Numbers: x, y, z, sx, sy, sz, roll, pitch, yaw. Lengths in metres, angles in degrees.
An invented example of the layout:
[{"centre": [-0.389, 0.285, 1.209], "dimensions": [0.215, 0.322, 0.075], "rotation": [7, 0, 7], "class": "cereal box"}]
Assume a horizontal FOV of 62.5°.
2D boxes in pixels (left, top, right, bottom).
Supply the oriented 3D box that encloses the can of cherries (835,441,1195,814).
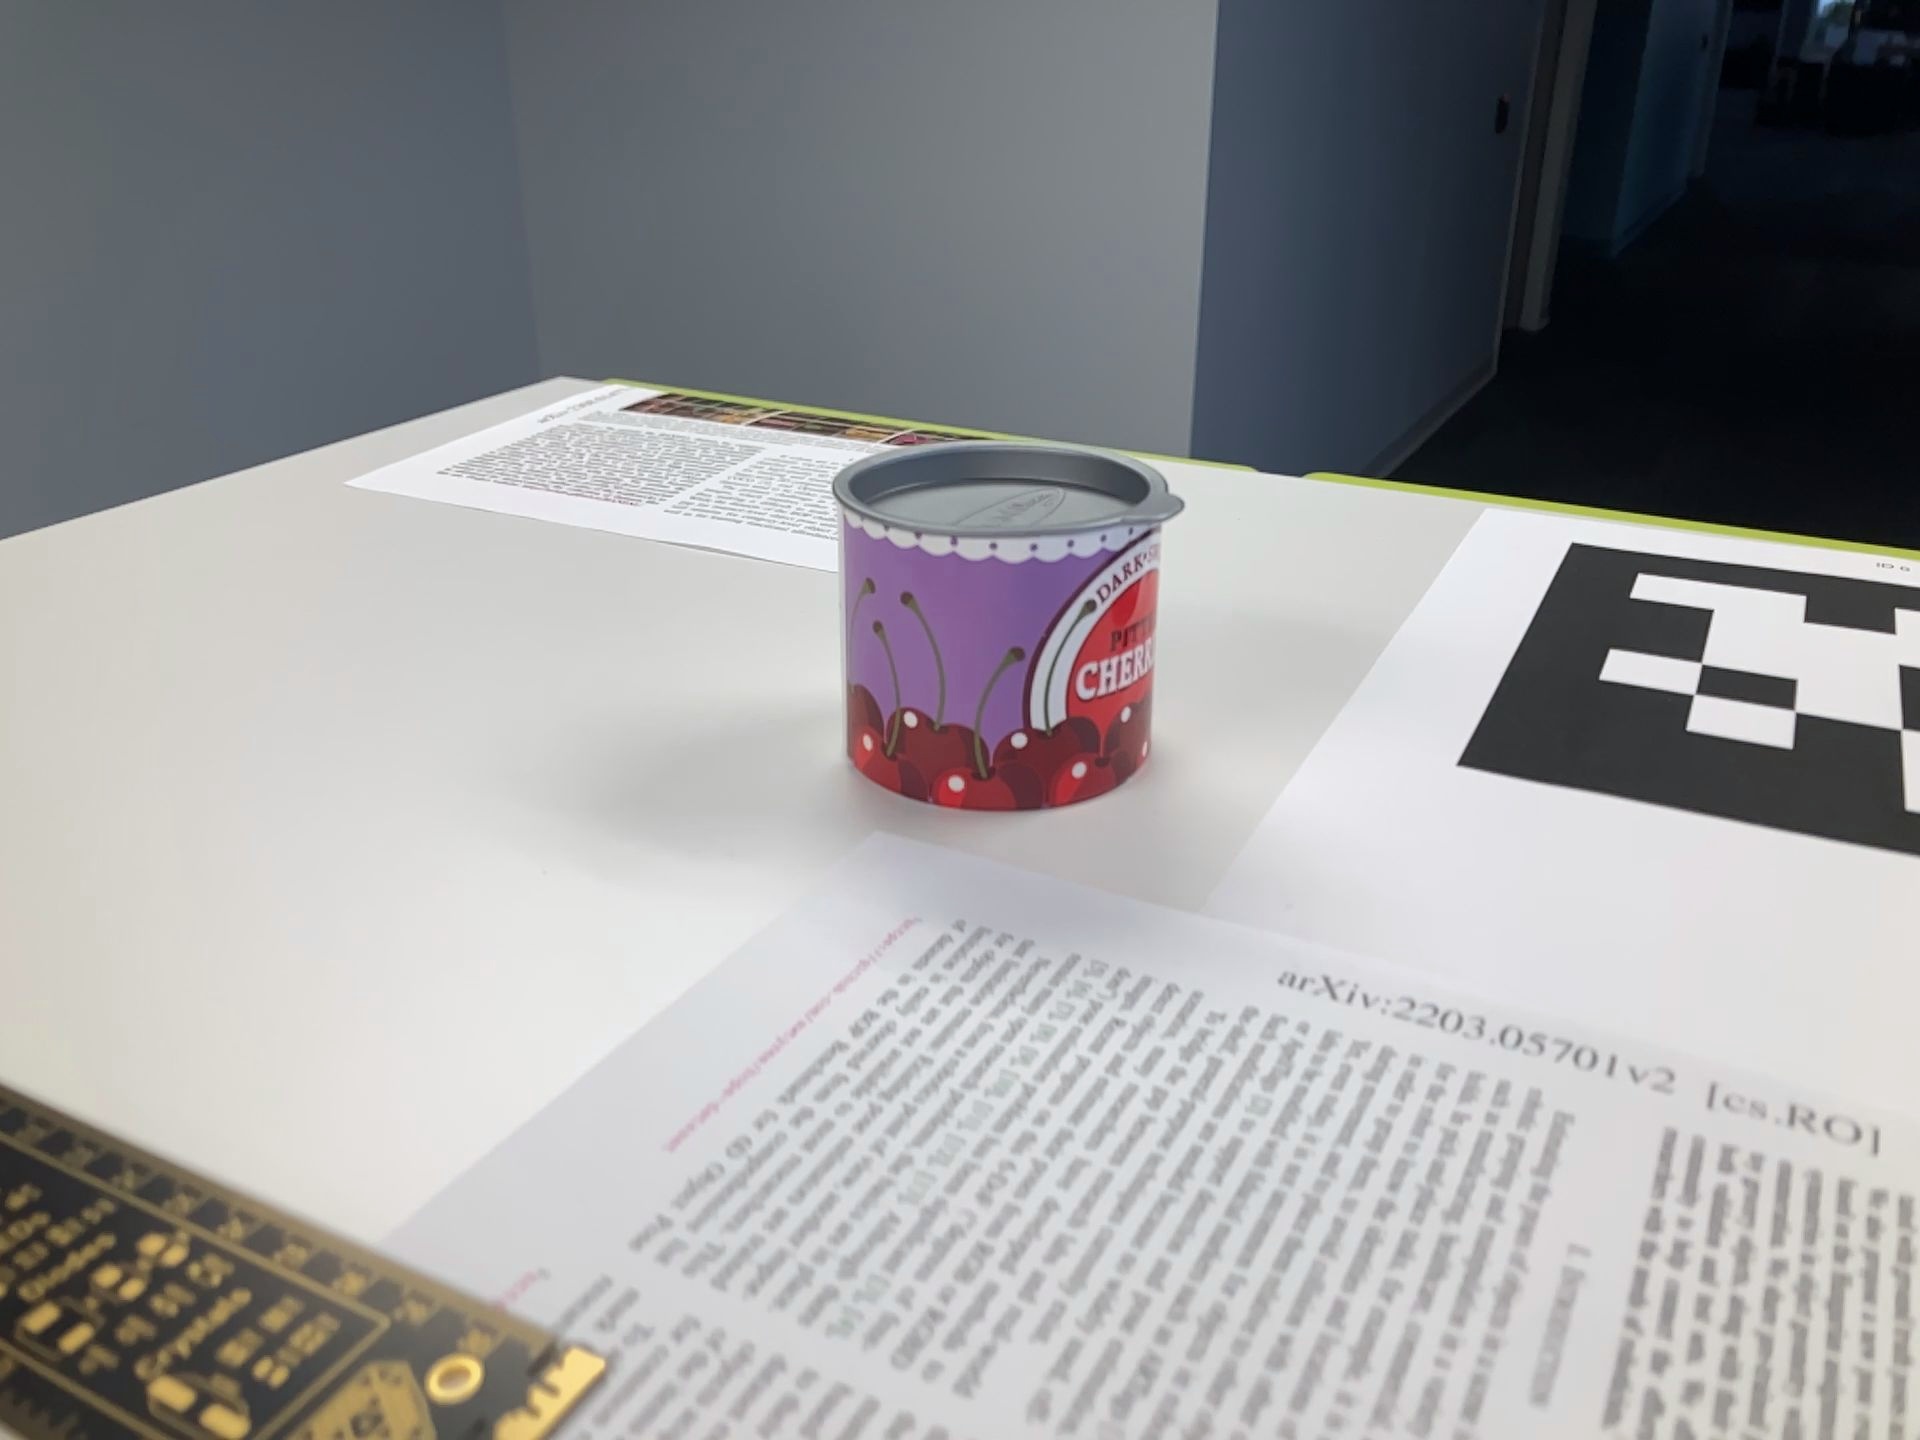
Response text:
[{"centre": [0.011, -0.020, 0.322], "dimensions": [0.071, 0.058, 0.071], "rotation": [0, 24, 0], "class": "can of cherries"}]
